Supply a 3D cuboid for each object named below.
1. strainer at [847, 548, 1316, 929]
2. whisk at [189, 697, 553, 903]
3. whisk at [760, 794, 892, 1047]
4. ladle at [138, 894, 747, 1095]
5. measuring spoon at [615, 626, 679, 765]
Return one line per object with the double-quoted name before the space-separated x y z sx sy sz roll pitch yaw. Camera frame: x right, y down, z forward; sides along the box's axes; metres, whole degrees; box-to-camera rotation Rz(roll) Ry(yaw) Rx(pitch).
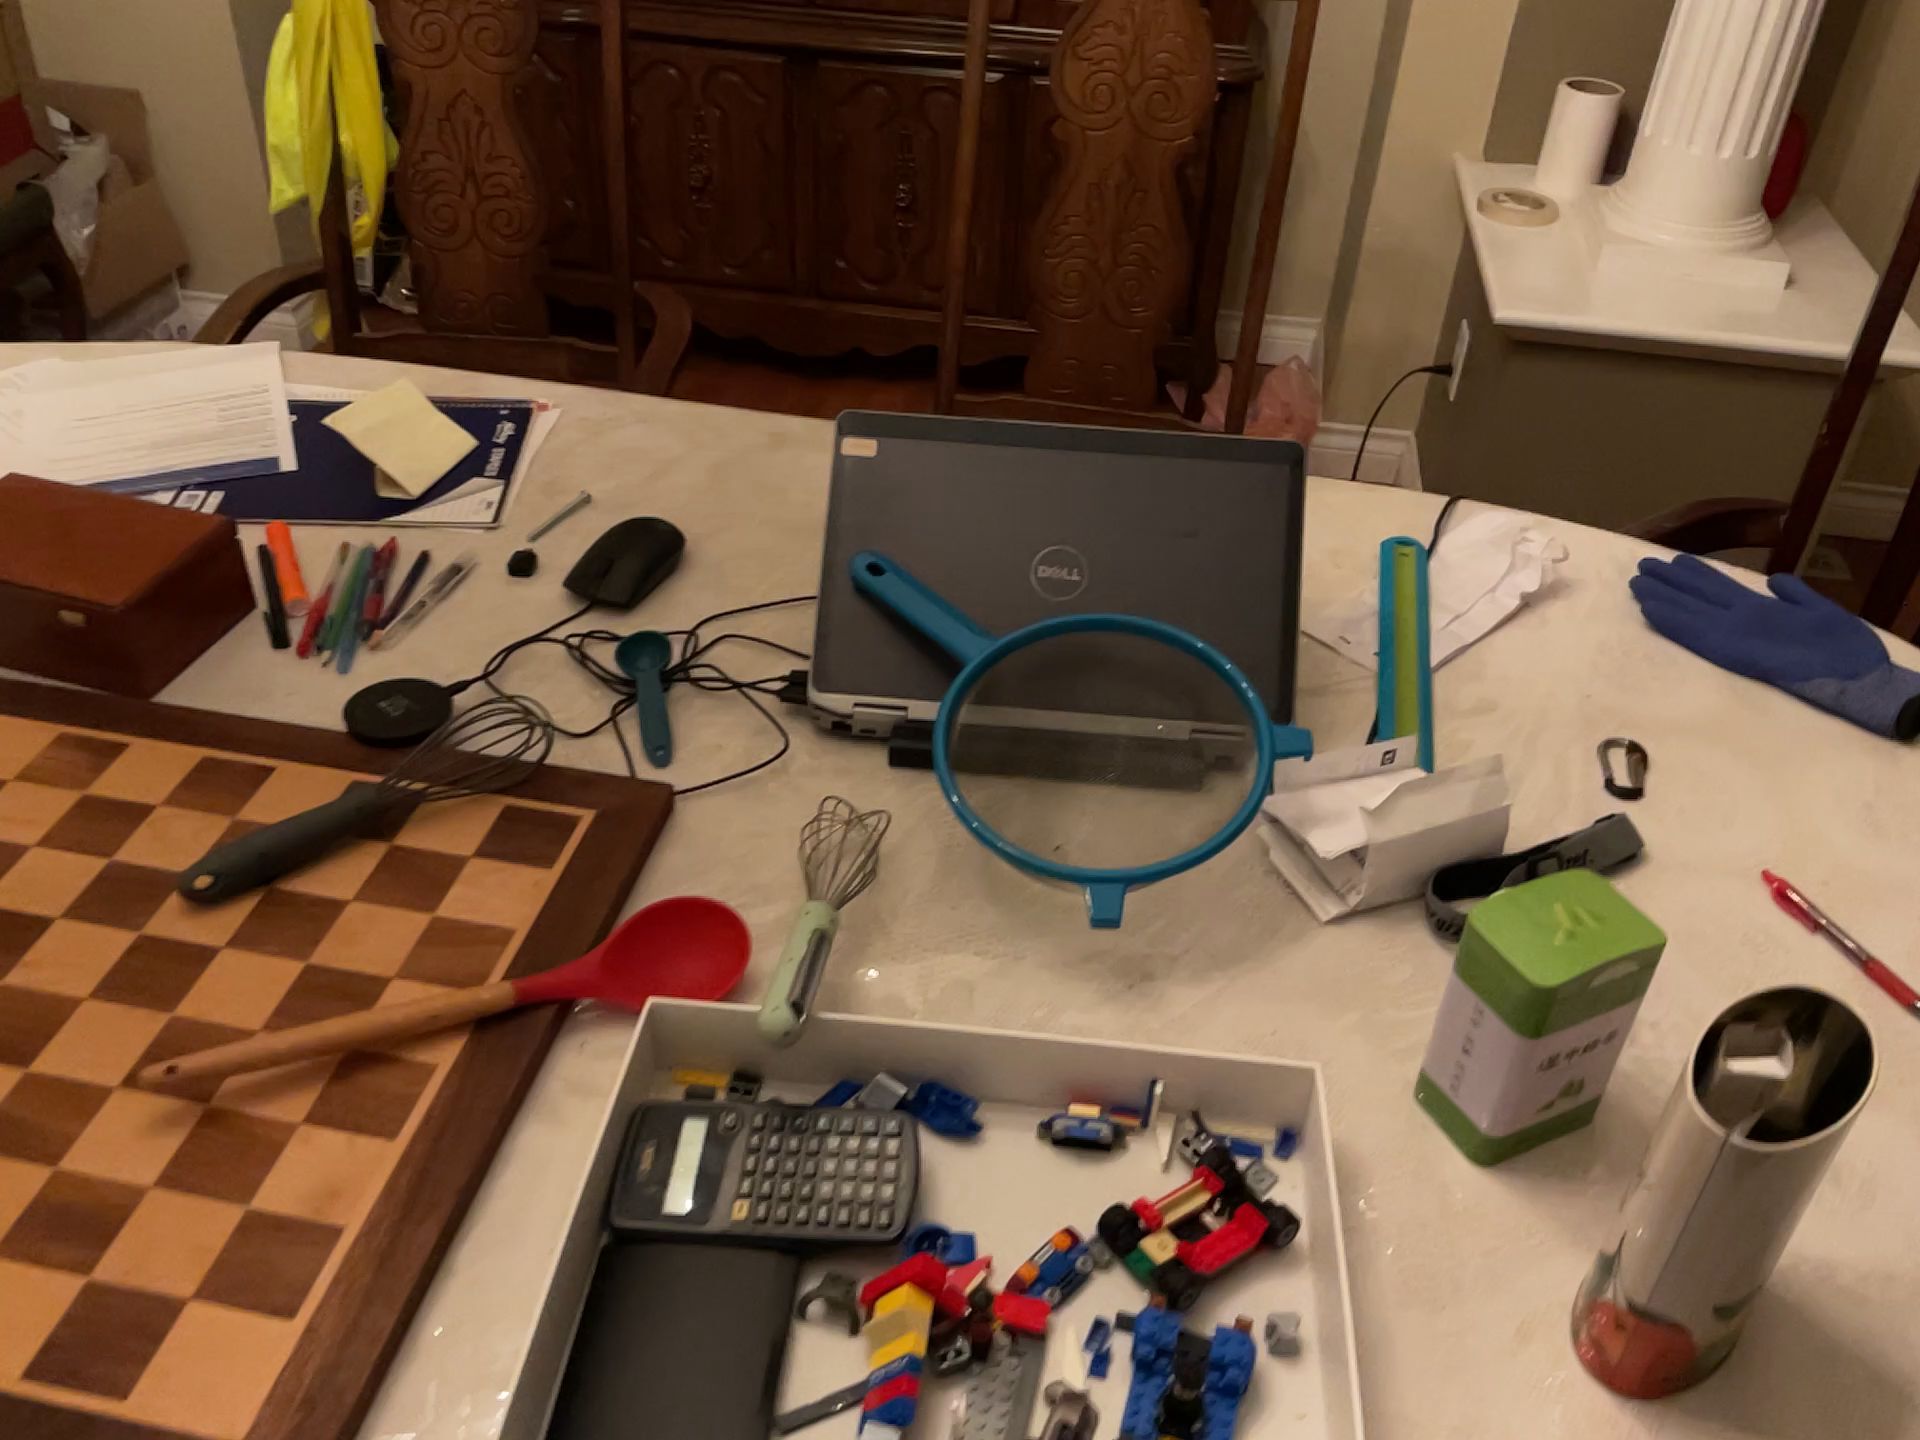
"strainer" 0.046 0.002 1.038 0.211 0.095 0.341 -37 57 -24
"whisk" -0.355 0.049 0.977 0.239 0.055 0.055 -30 35 -30
"whisk" -0.078 0.109 0.906 0.059 0.057 0.246 -23 20 15
"ladle" -0.268 0.154 0.856 0.315 0.031 0.069 -11 62 -25
"measuring spoon" -0.213 -0.013 1.114 0.042 0.021 0.129 -13 52 -9
